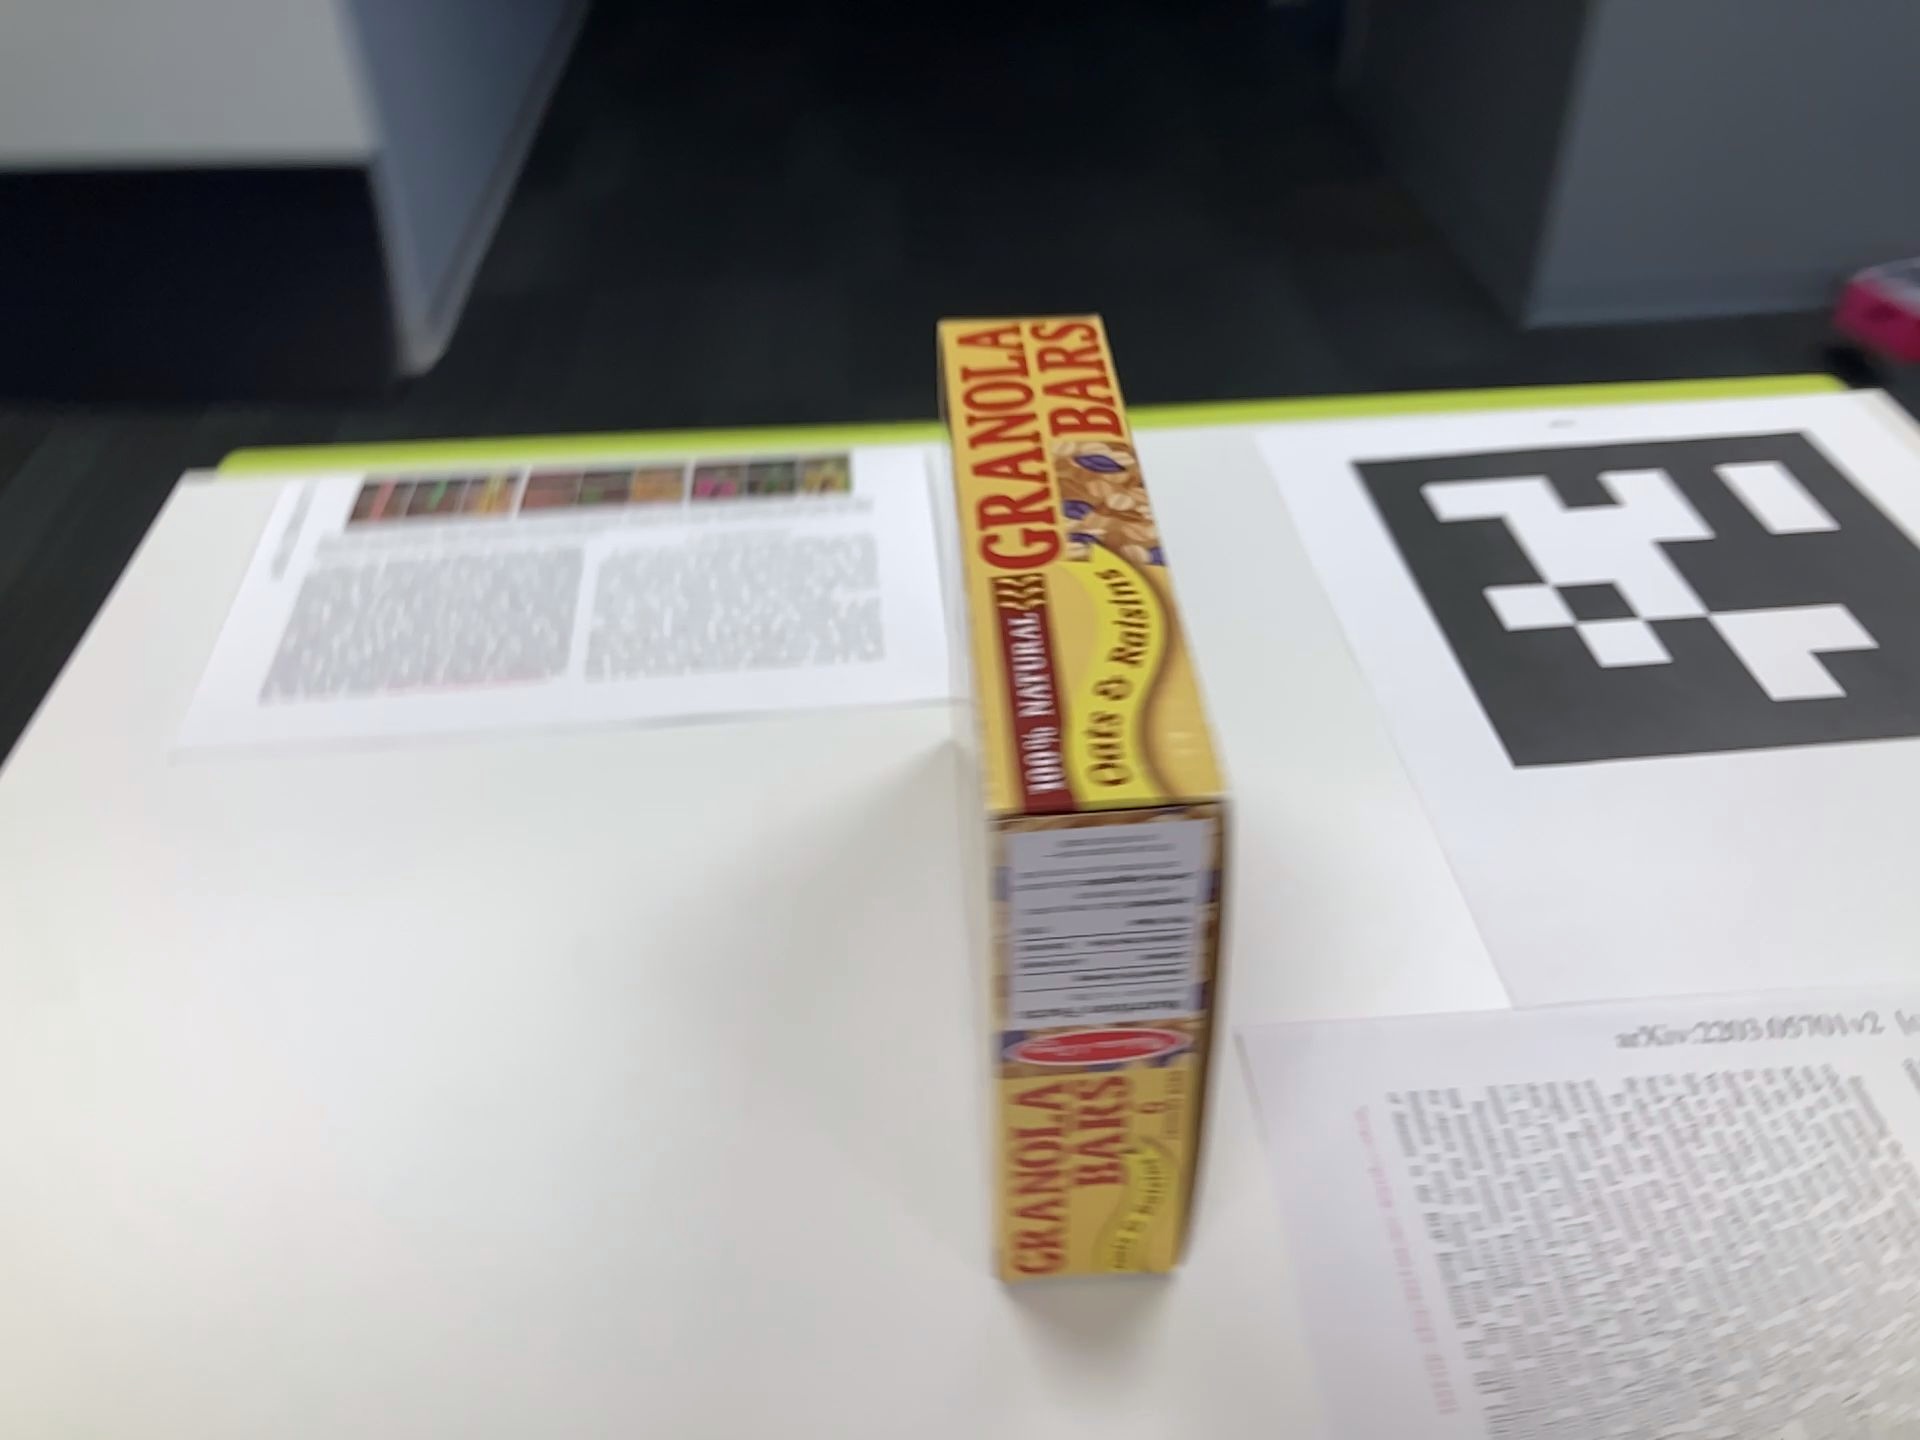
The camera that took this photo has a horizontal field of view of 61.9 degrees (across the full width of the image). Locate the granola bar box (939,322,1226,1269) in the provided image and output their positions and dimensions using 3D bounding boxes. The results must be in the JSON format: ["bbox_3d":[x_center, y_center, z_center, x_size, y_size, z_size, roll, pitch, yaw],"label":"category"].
[{"bbox_3d":[0.020,0.008,0.338,0.039,0.124,0.165,-3,40,-2],"label":"granola bar box"}]
